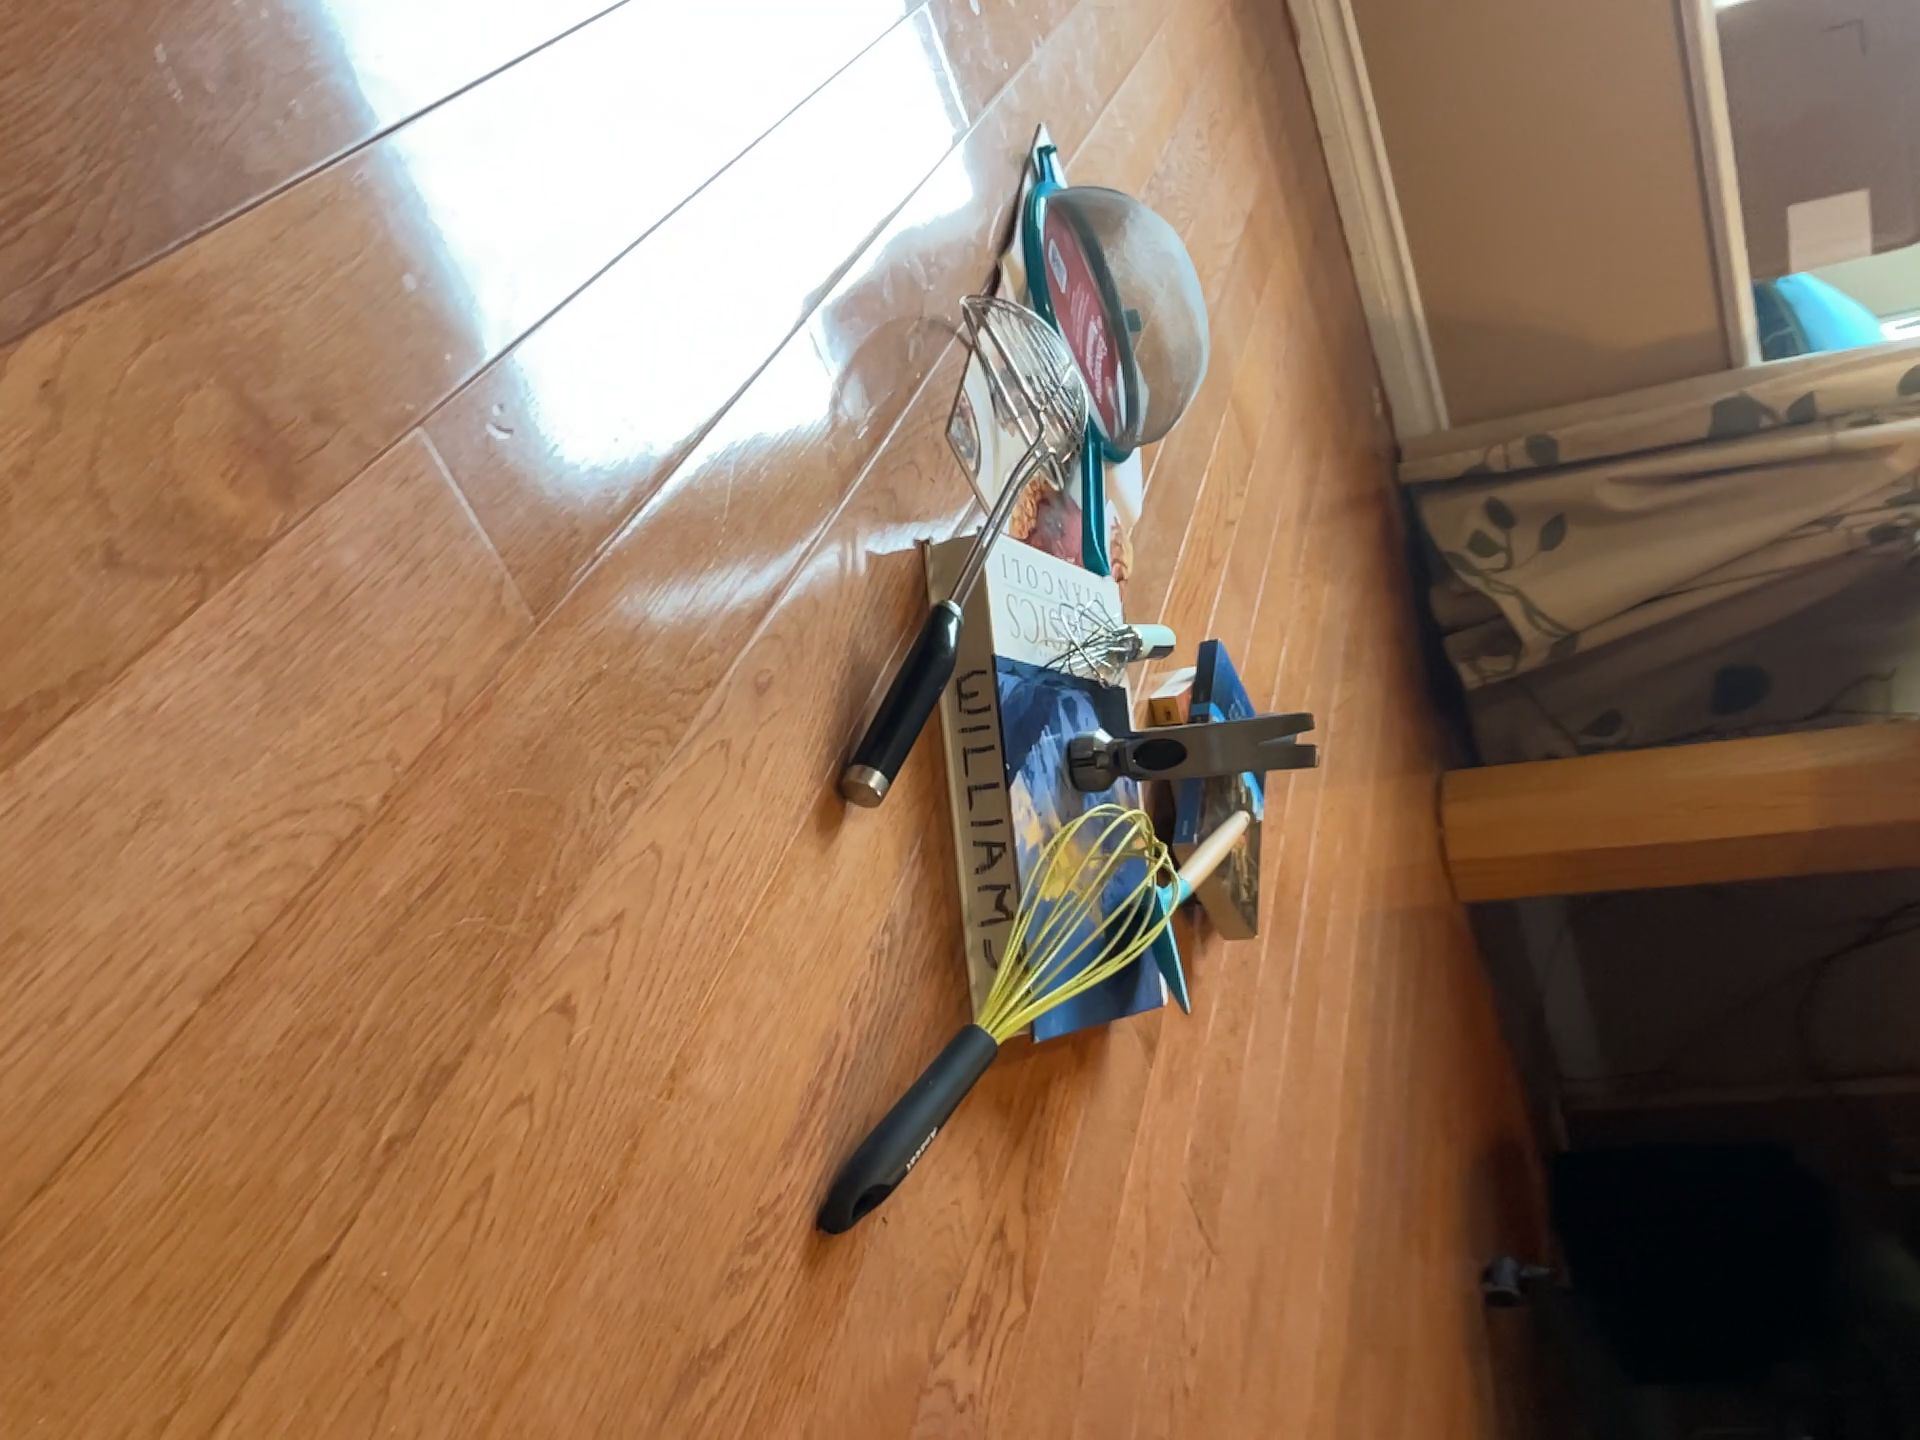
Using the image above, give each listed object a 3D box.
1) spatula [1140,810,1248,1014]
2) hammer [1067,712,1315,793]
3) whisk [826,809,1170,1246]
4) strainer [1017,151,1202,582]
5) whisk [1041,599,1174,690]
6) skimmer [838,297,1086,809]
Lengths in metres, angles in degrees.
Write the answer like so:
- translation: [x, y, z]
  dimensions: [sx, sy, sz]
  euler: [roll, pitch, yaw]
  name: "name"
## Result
- translation: [0.165, 0.106, 1.076]
  dimensions: [0.318, 0.044, 0.082]
  euler: [-29, 106, -65]
  name: "spatula"
- translation: [0.198, 0.014, 1.089]
  dimensions: [0.386, 0.143, 0.038]
  euler: [-4, 88, -68]
  name: "hammer"
- translation: [0.023, 0.142, 0.786]
  dimensions: [0.312, 0.067, 0.080]
  euler: [-45, 138, -44]
  name: "whisk"
- translation: [0.124, -0.244, 1.126]
  dimensions: [0.211, 0.095, 0.341]
  euler: [50, 31, -49]
  name: "strainer"
- translation: [0.101, -0.047, 1.003]
  dimensions: [0.059, 0.057, 0.246]
  euler: [51, 17, 10]
  name: "whisk"
- translation: [-0.011, -0.098, 0.878]
  dimensions: [0.127, 0.090, 0.364]
  euler: [62, 41, -40]
  name: "skimmer"
